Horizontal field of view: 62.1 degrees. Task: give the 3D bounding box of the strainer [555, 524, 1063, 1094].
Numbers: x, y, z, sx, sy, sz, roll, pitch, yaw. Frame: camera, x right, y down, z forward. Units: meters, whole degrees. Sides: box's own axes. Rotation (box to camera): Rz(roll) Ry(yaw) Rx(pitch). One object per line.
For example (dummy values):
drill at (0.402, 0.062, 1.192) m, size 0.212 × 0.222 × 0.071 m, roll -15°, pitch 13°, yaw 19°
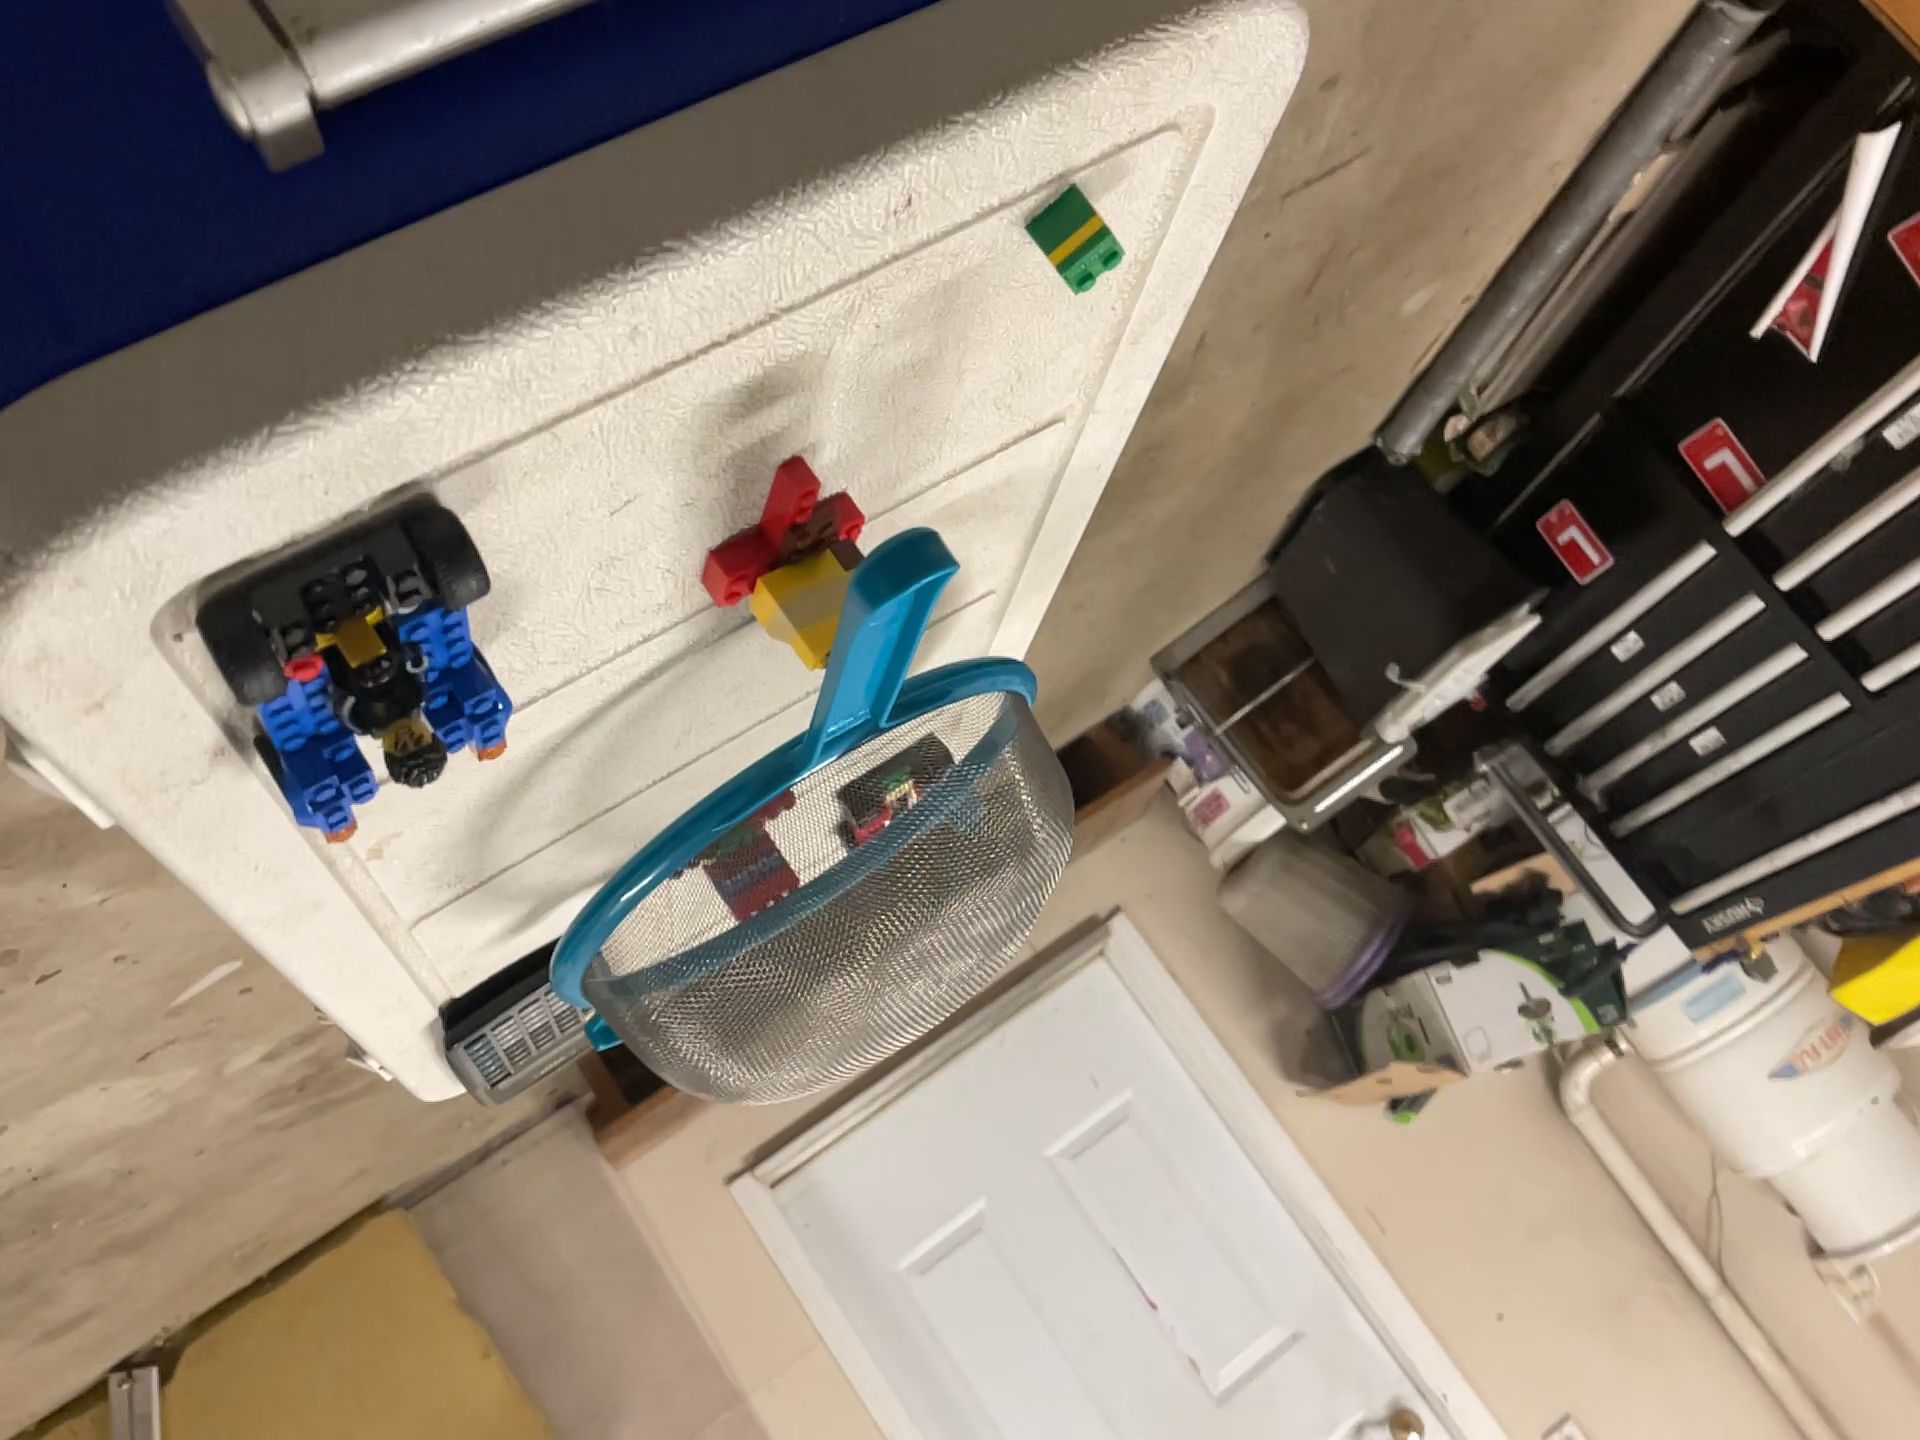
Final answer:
strainer at (-0.022, 0.050, 0.528) m, size 0.211 × 0.095 × 0.340 m, roll -31°, pitch 167°, yaw -21°
